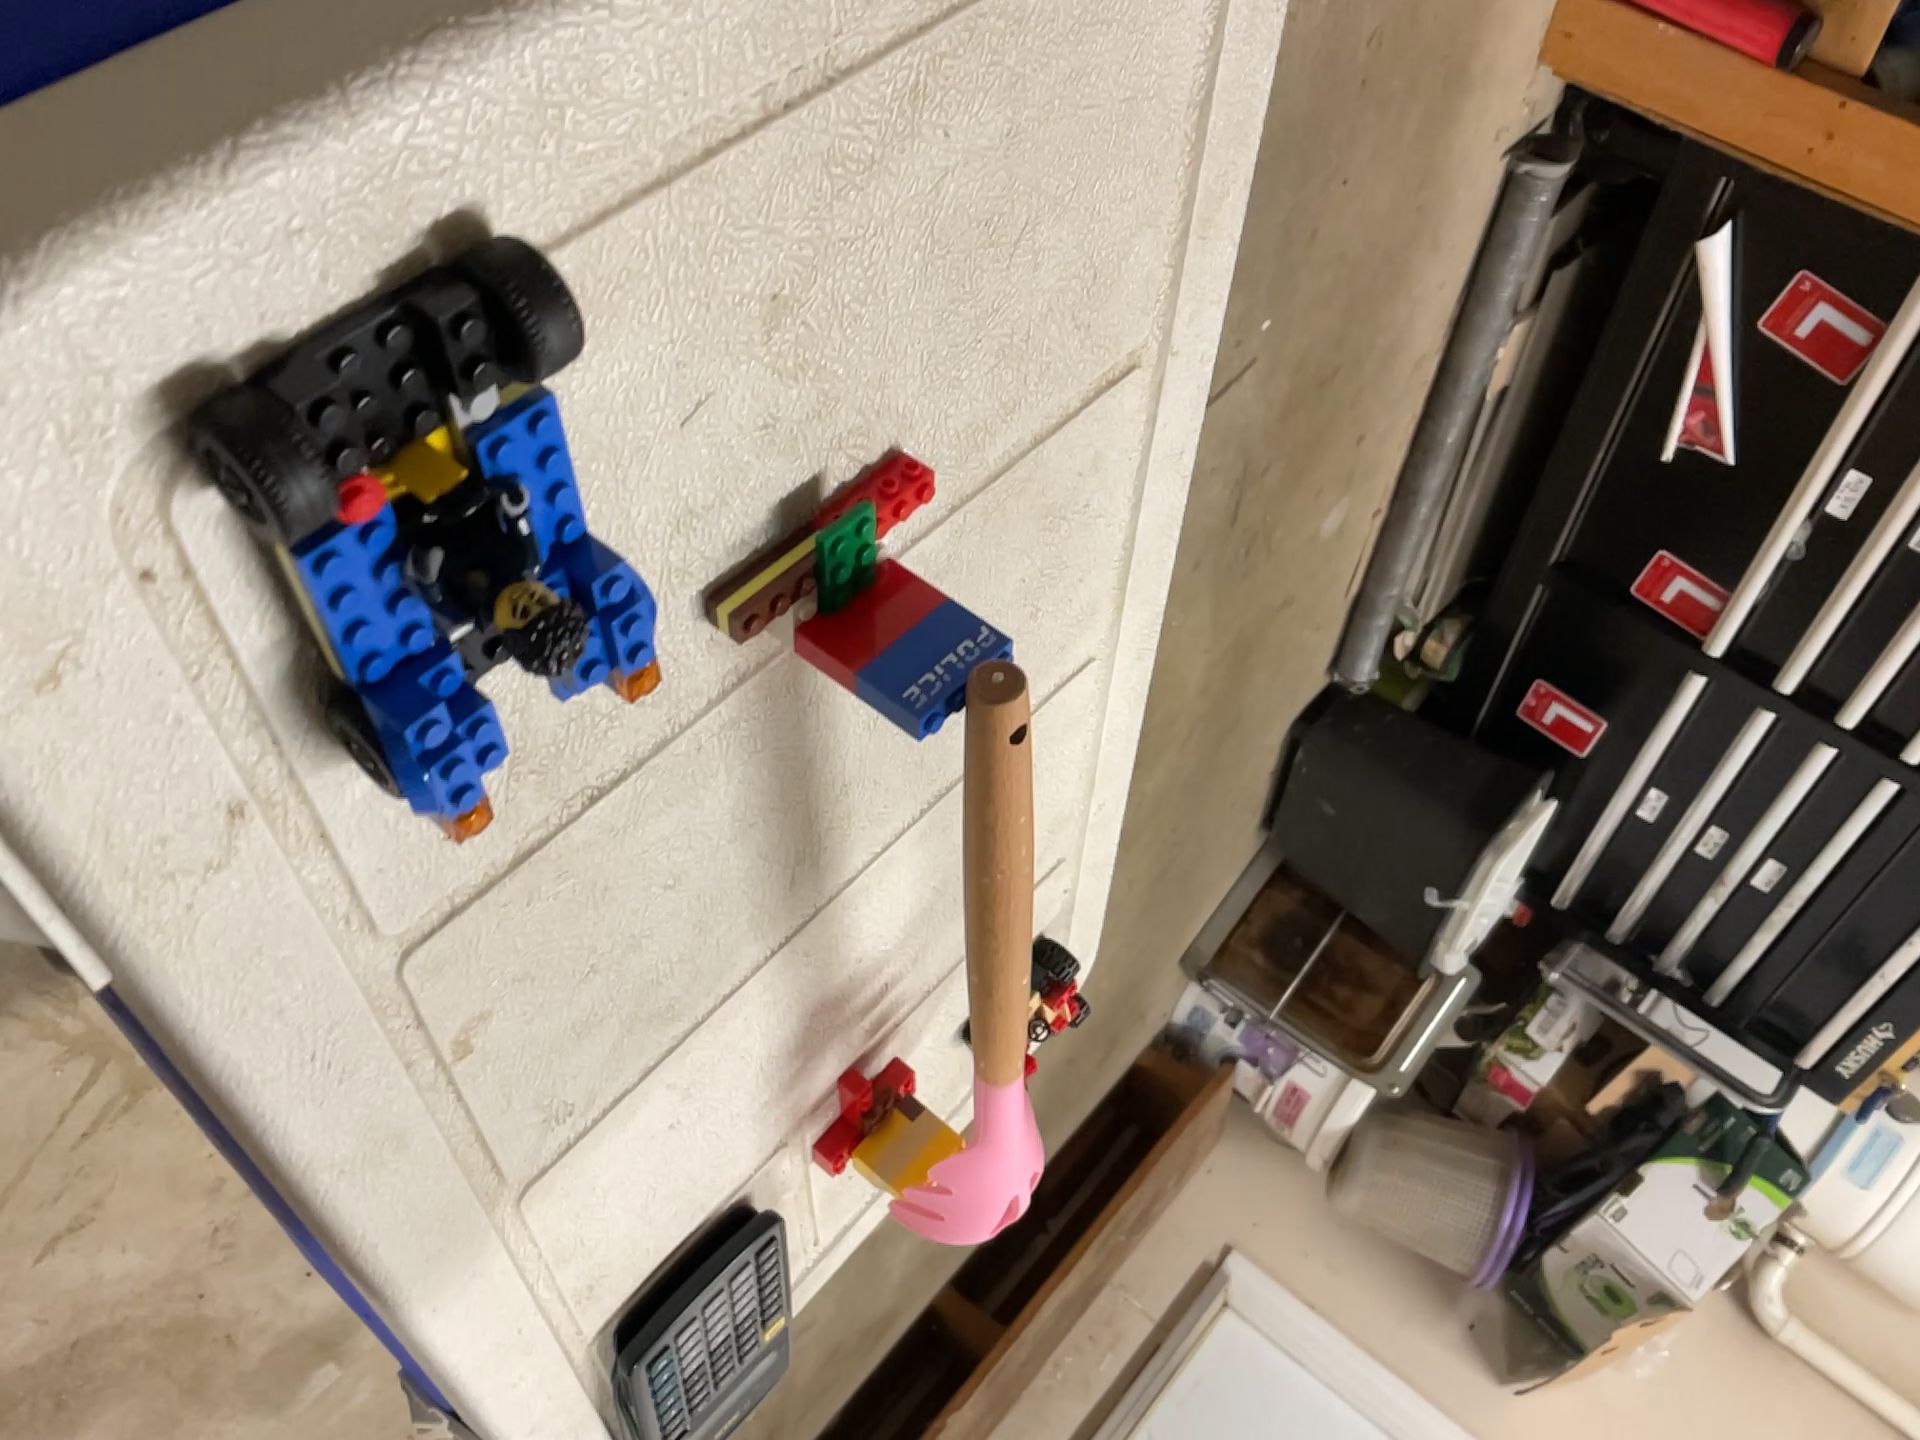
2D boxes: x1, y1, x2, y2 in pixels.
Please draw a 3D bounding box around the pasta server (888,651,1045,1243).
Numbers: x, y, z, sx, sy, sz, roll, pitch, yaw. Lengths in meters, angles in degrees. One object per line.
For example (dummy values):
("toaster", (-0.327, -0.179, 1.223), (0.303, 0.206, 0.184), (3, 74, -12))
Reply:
("pasta server", (0.006, 0.084, 0.468), (0.060, 0.040, 0.316), (-41, 151, -27))
